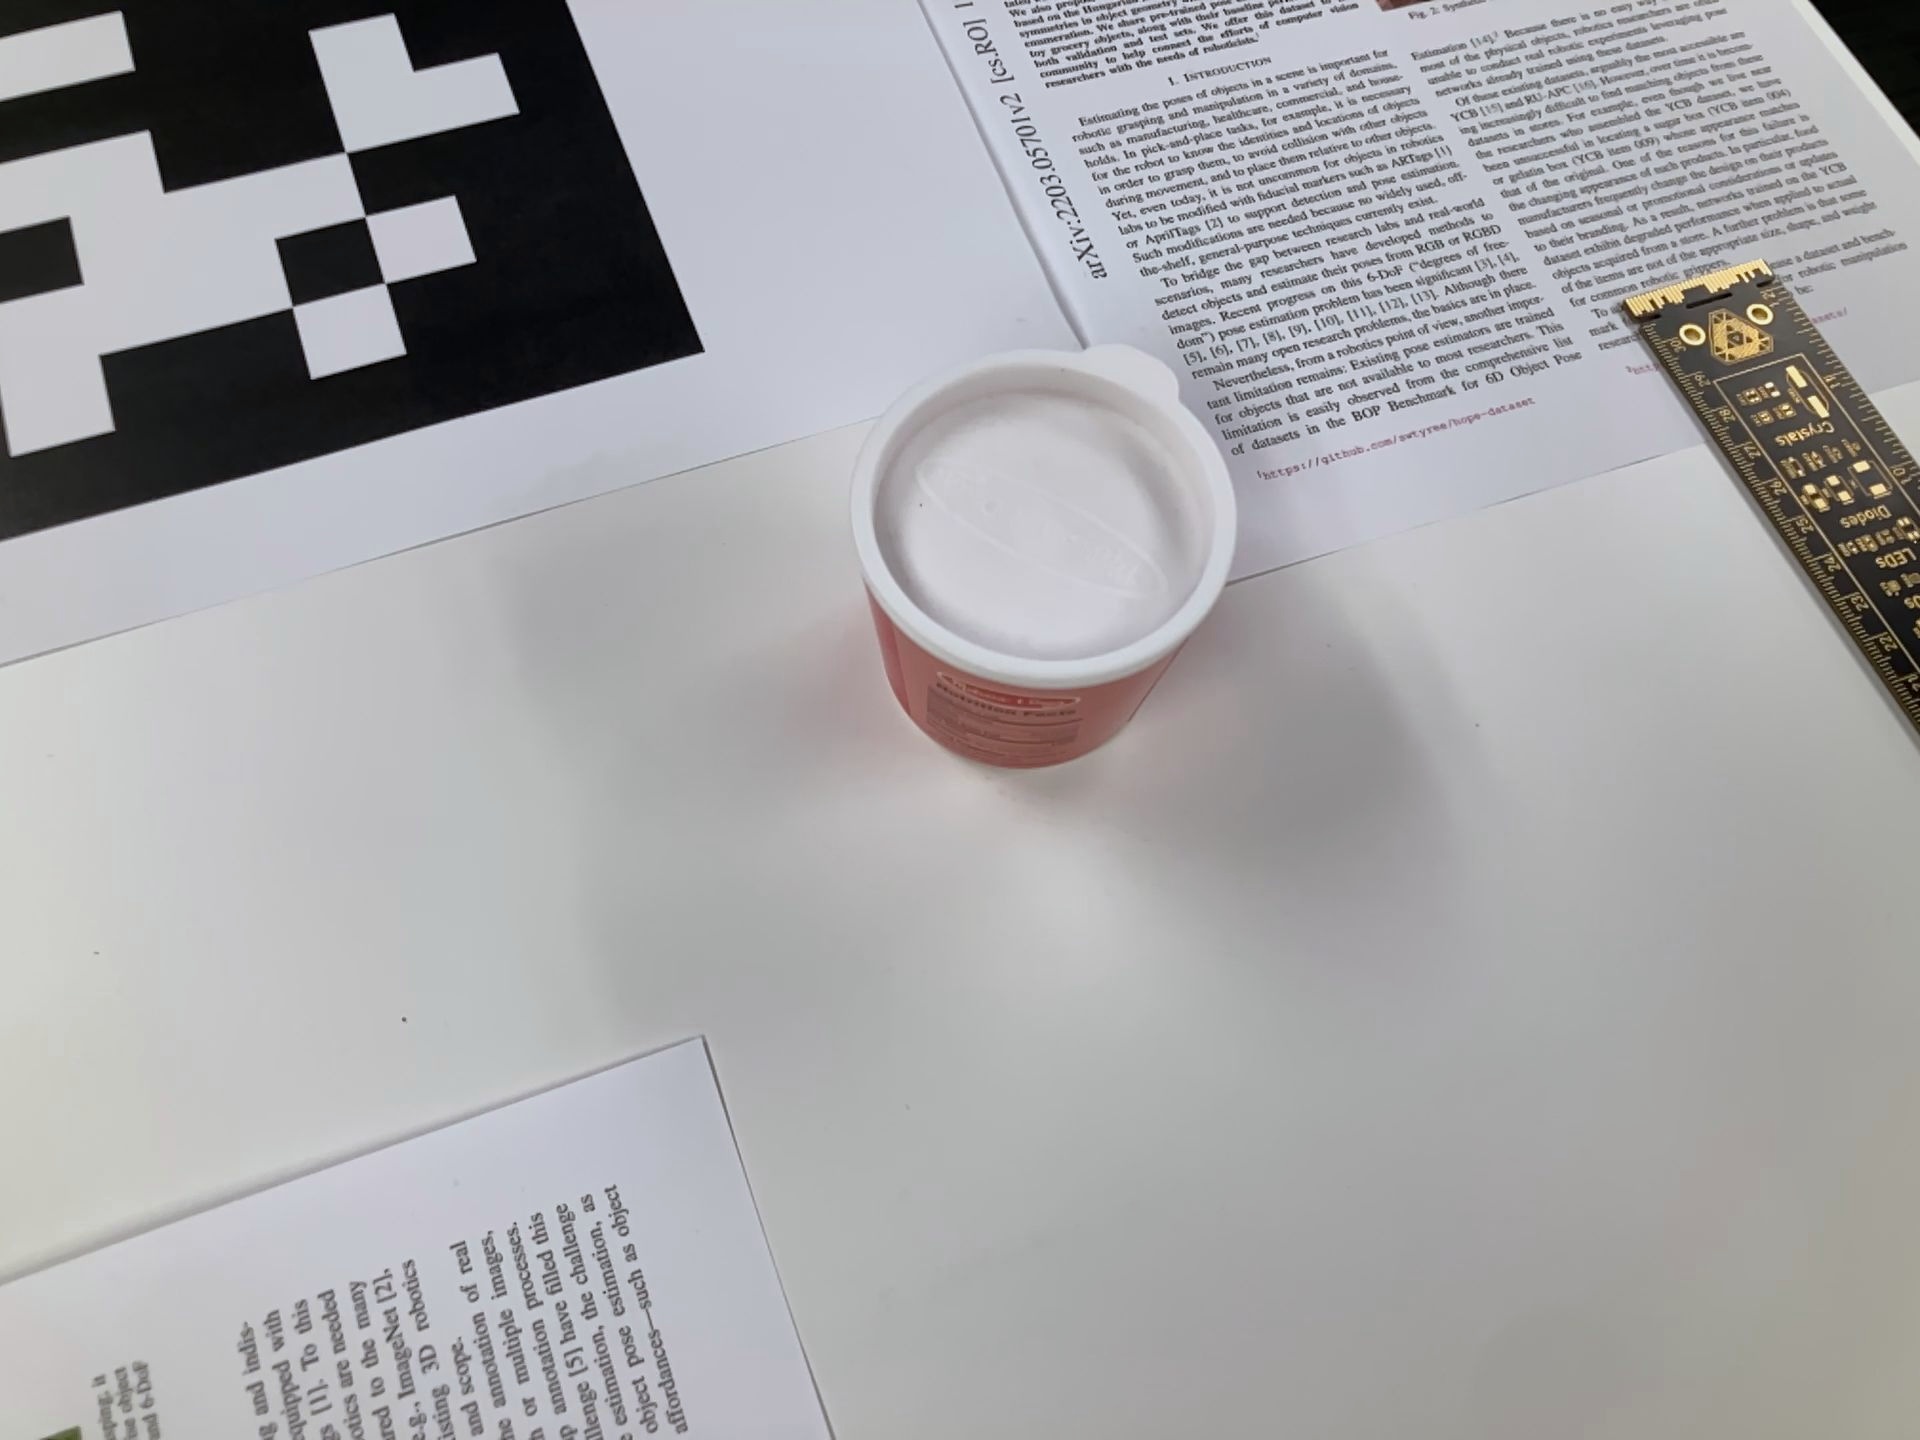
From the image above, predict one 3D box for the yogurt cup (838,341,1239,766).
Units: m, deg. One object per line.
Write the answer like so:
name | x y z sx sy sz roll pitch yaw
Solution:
yogurt cup | 0.013 -0.026 0.292 0.072 0.054 0.072 1 65 -2
